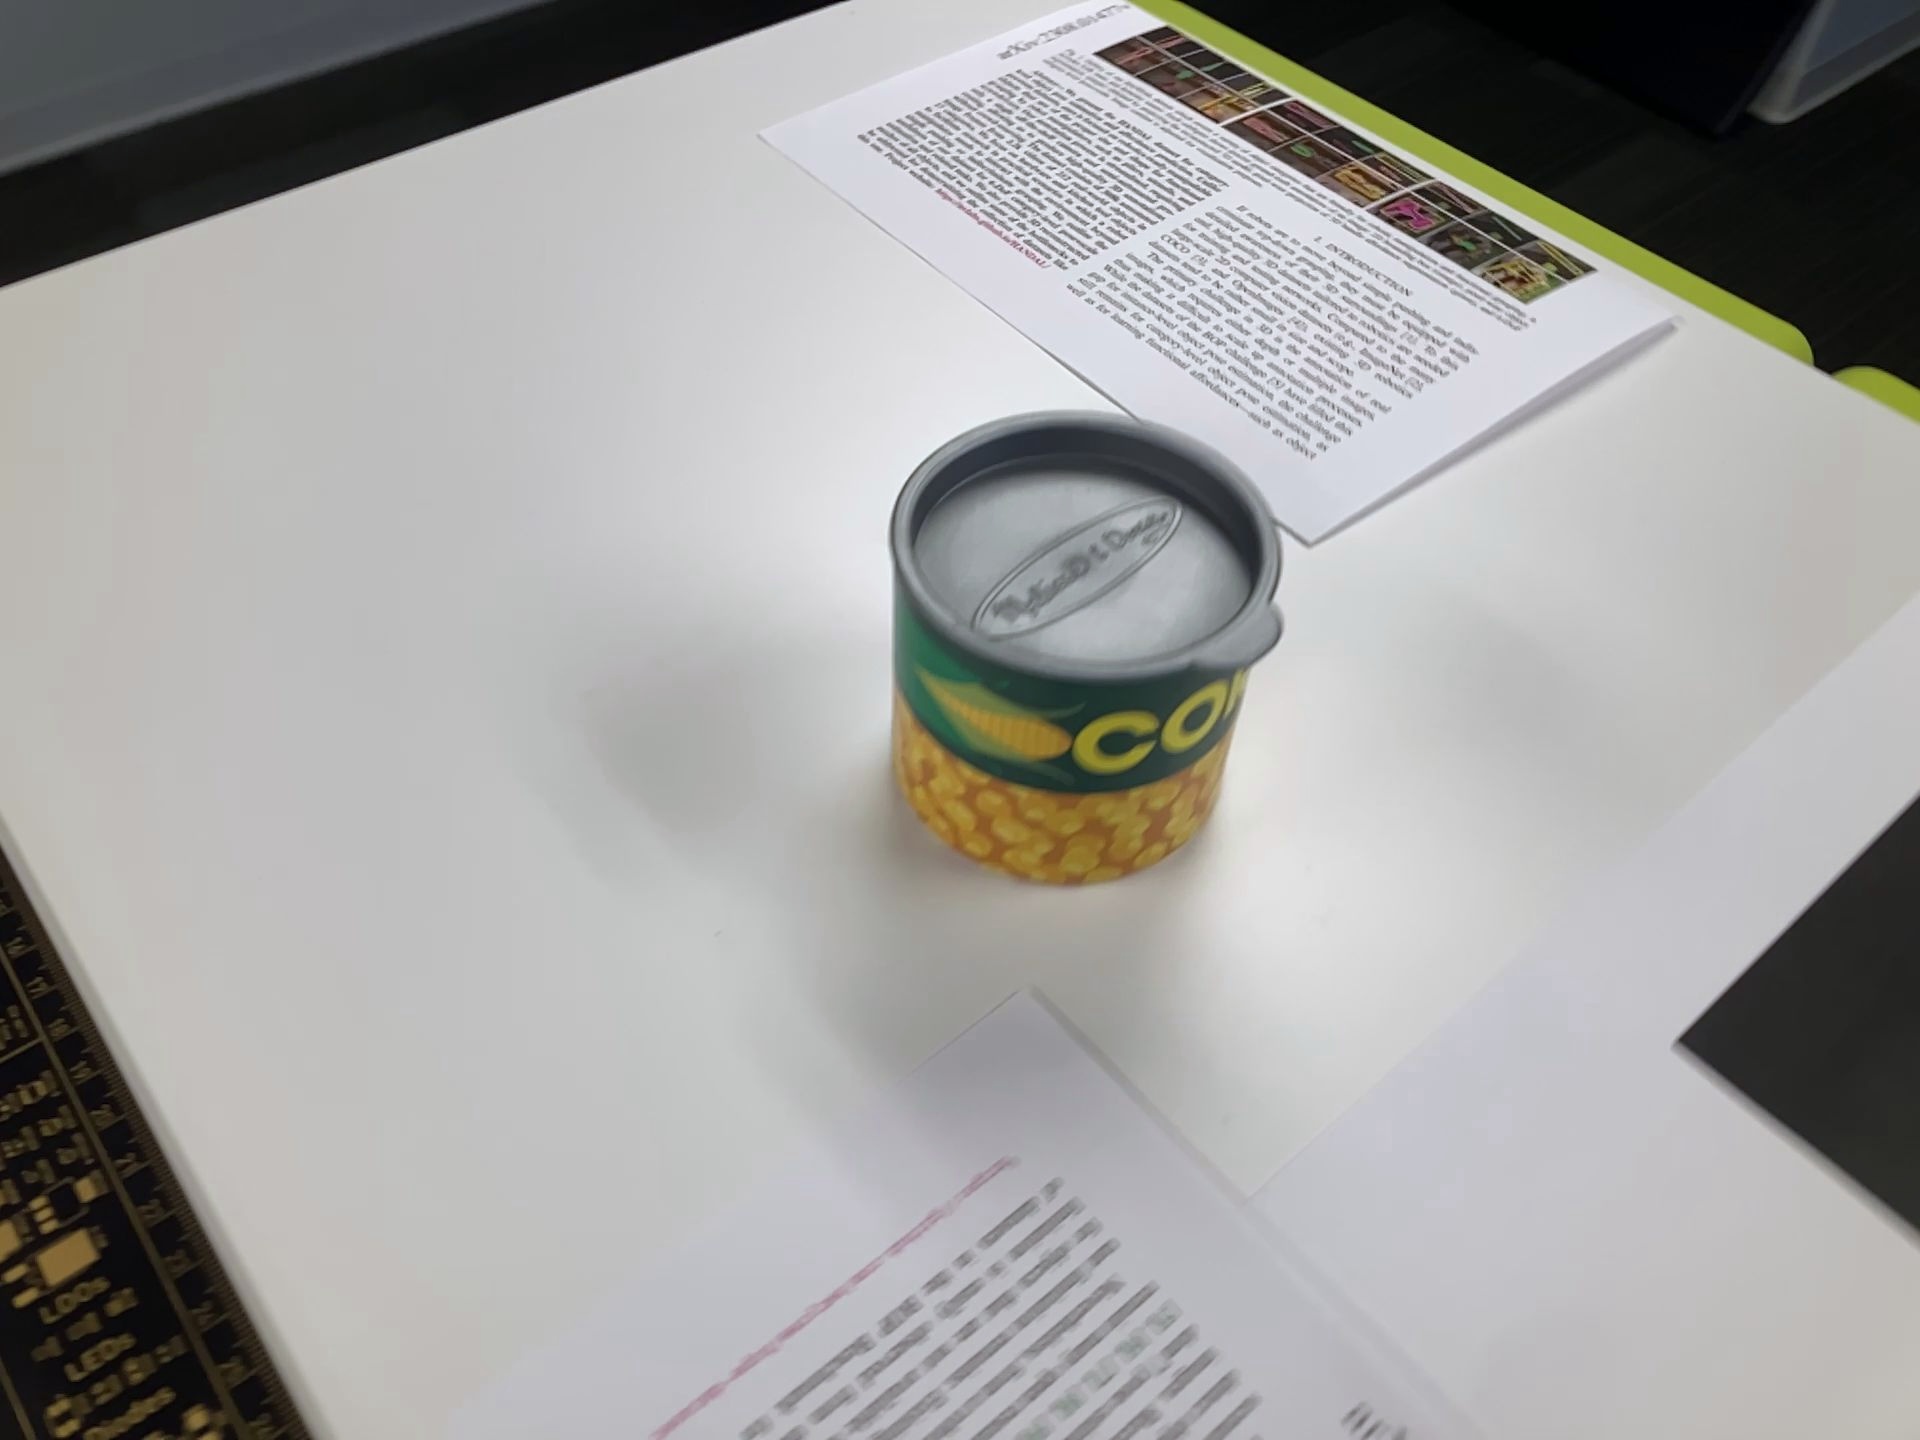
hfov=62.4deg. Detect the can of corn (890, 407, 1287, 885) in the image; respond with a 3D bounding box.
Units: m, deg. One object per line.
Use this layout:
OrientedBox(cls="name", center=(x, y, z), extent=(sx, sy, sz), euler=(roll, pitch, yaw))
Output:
OrientedBox(cls="can of corn", center=(0.022, -0.012, 0.286), extent=(0.071, 0.058, 0.071), euler=(2, 49, -2))
